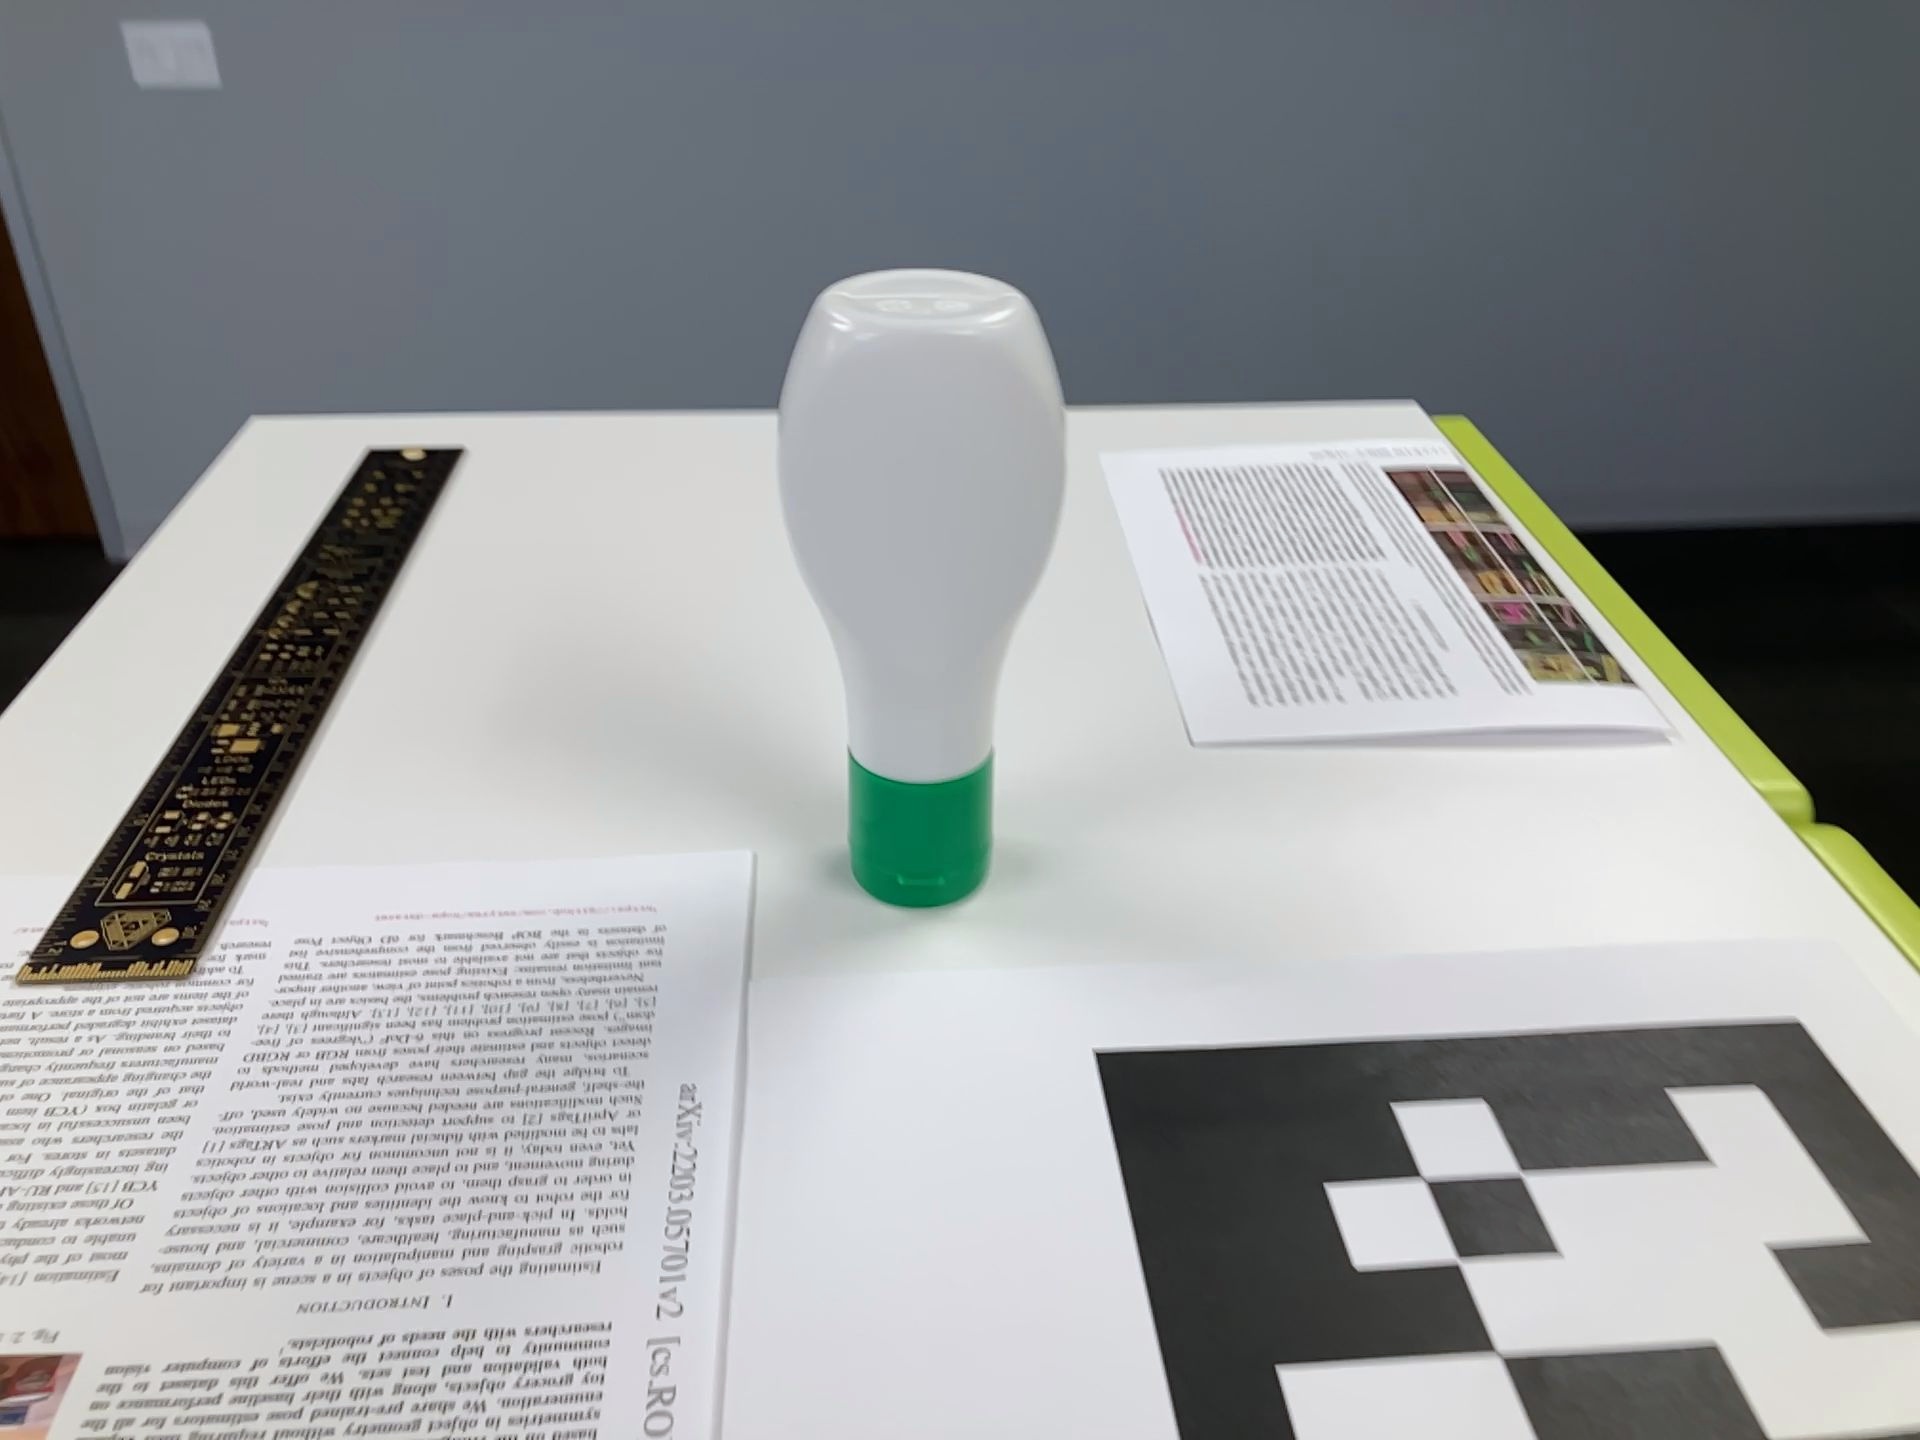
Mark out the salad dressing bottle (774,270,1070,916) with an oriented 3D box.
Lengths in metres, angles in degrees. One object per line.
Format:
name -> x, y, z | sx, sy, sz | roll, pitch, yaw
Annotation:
salad dressing bottle -> -0.009, -0.024, 0.364 | 0.064, 0.147, 0.044 | 0, 30, -2
